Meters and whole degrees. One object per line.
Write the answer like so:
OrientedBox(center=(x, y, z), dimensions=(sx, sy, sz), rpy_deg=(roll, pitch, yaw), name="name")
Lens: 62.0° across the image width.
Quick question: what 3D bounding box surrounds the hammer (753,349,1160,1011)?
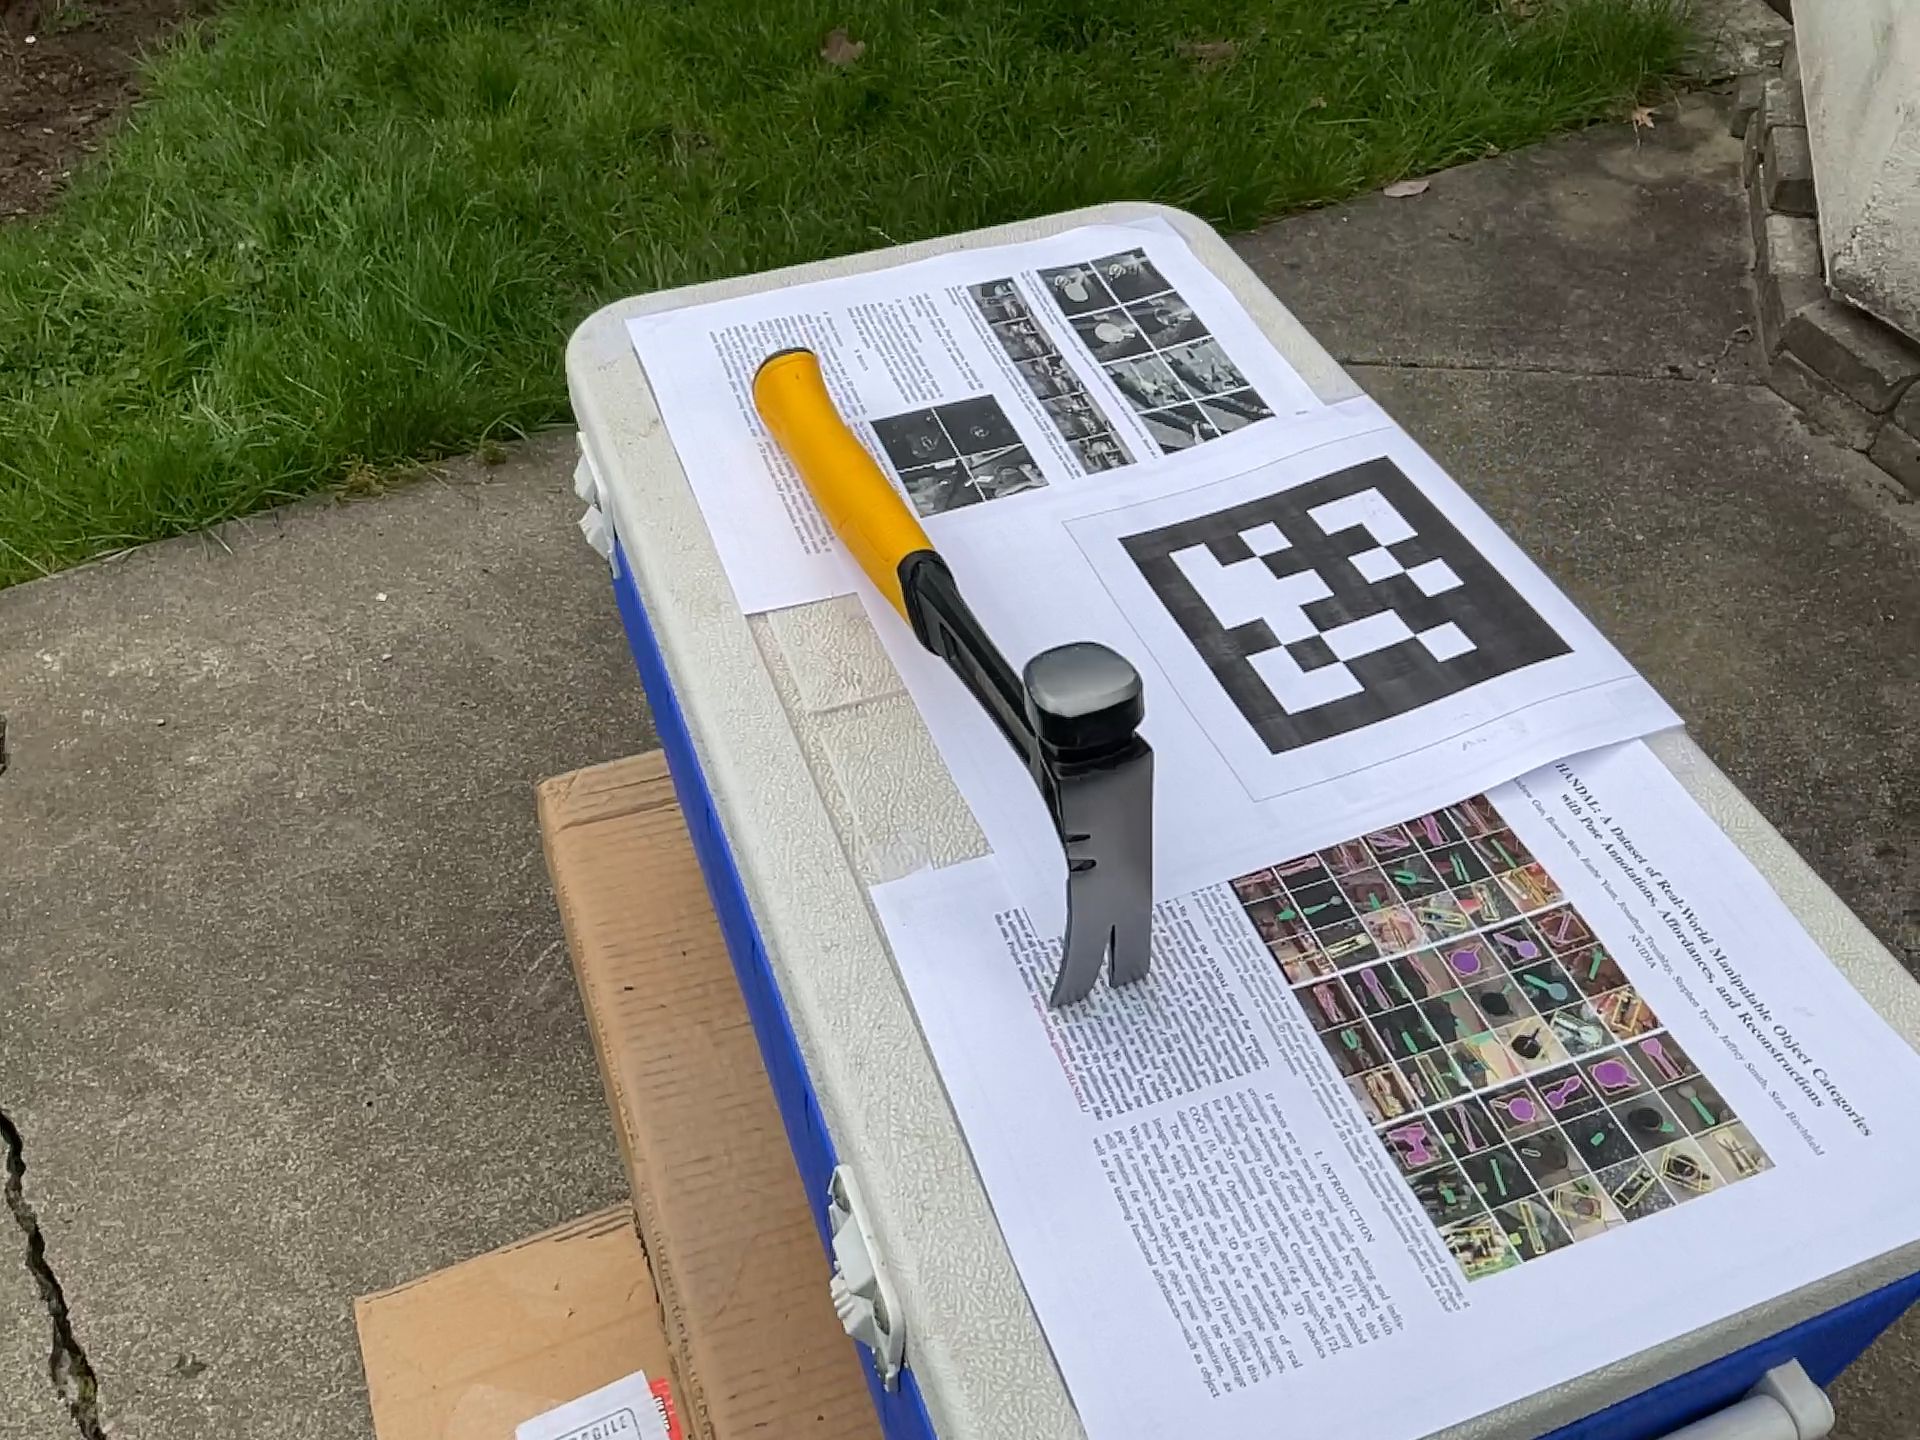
OrientedBox(center=(-0.016, -0.047, 0.584), dimensions=(0.034, 0.127, 0.337), rpy_deg=(-16, 39, -14), name="hammer")
